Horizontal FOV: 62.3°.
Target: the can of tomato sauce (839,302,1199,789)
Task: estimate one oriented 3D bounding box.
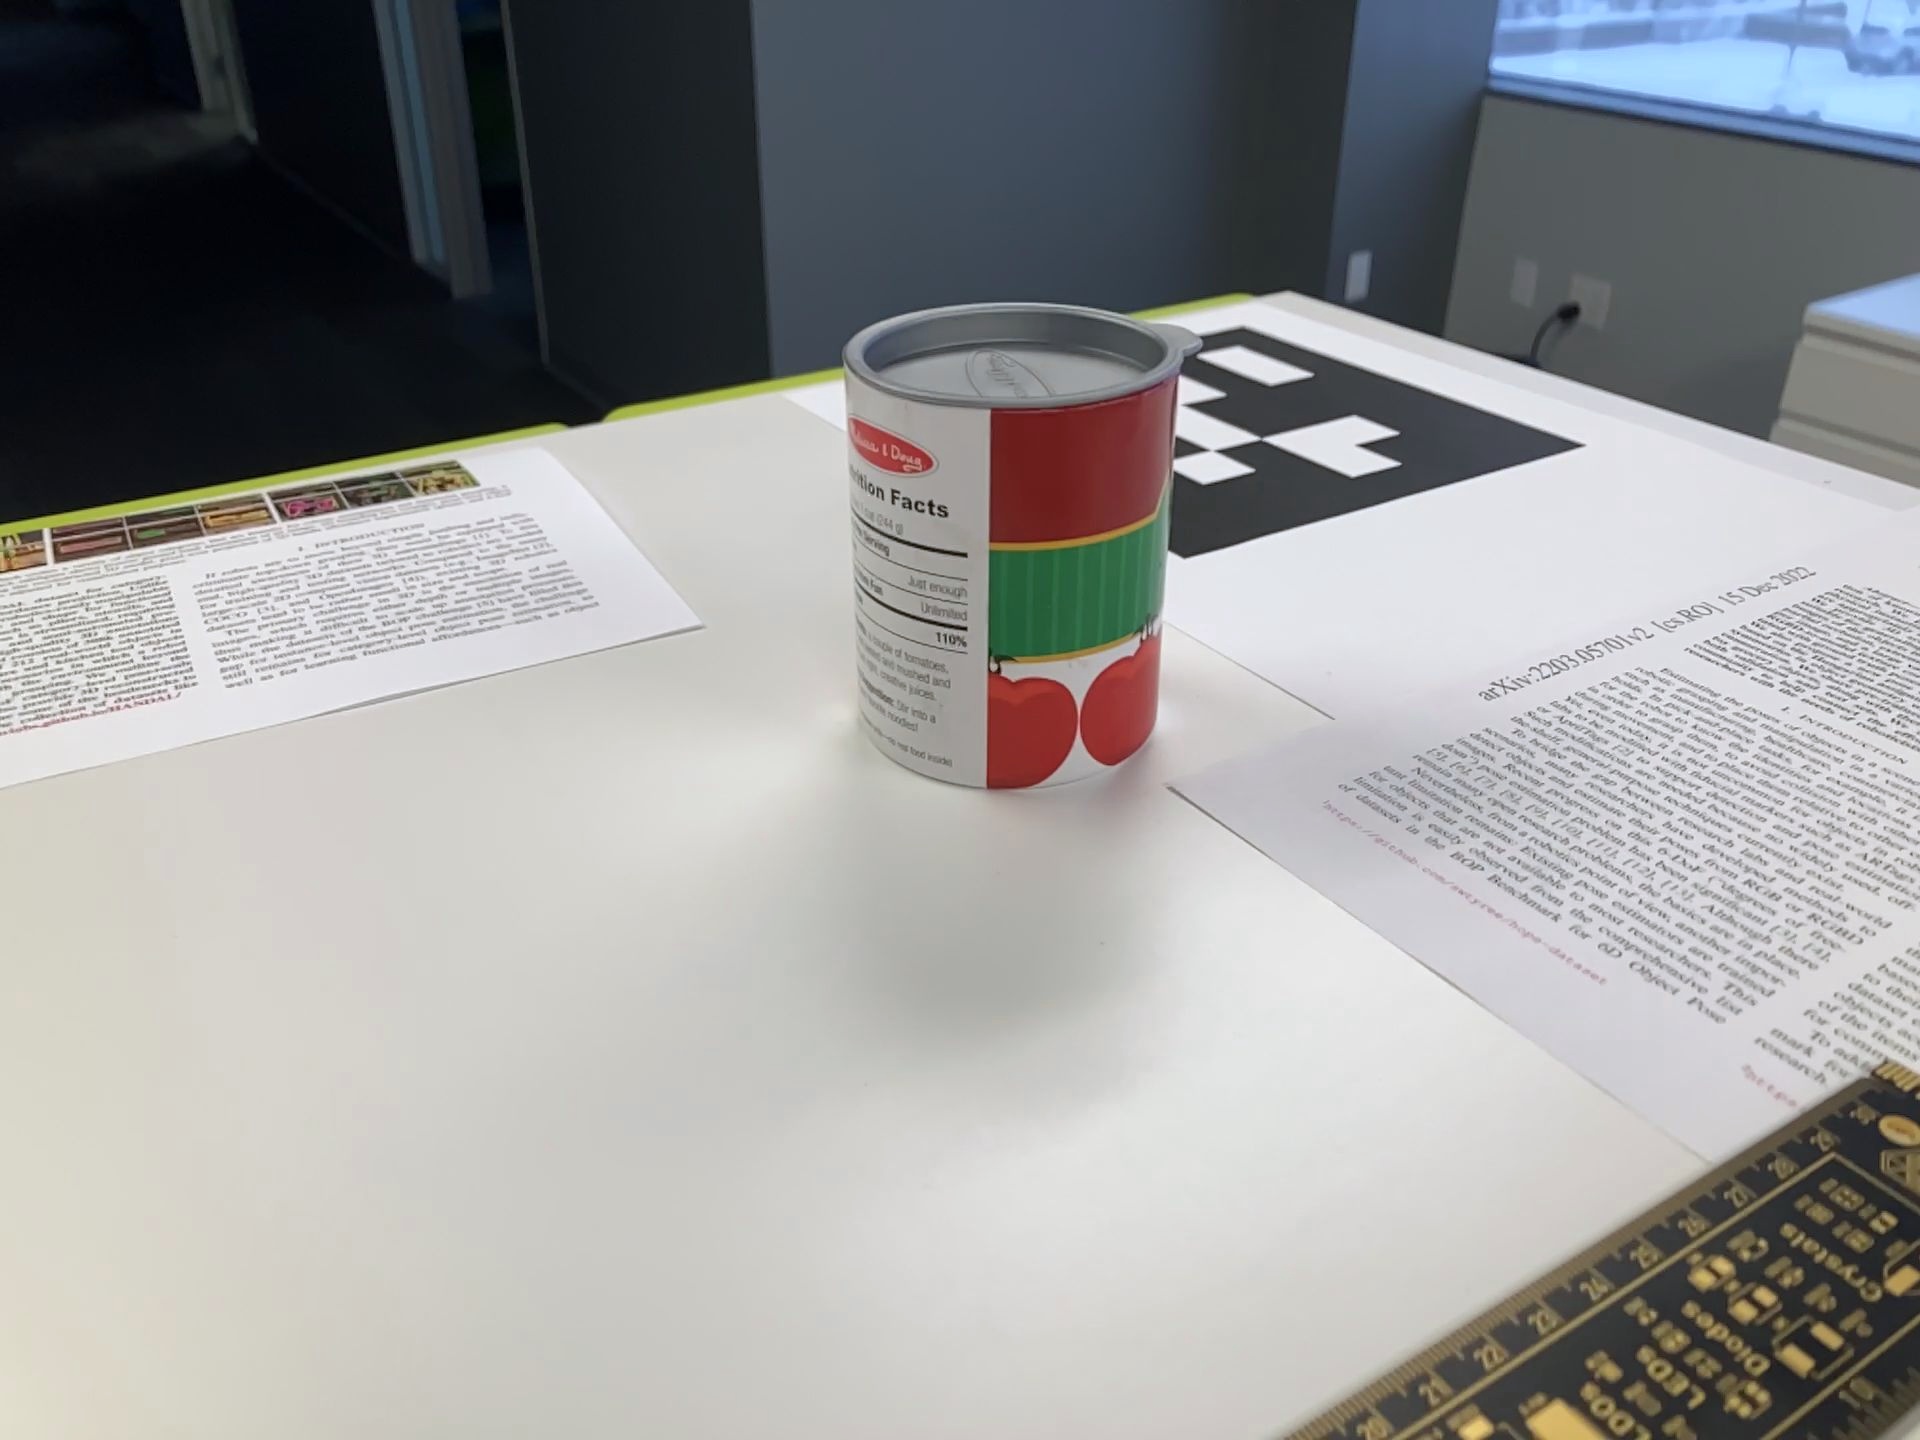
[{"bbox_3d":[0.012,-0.038,0.331,0.071,0.083,0.071,0,29,0],"label":"can of tomato sauce"}]
